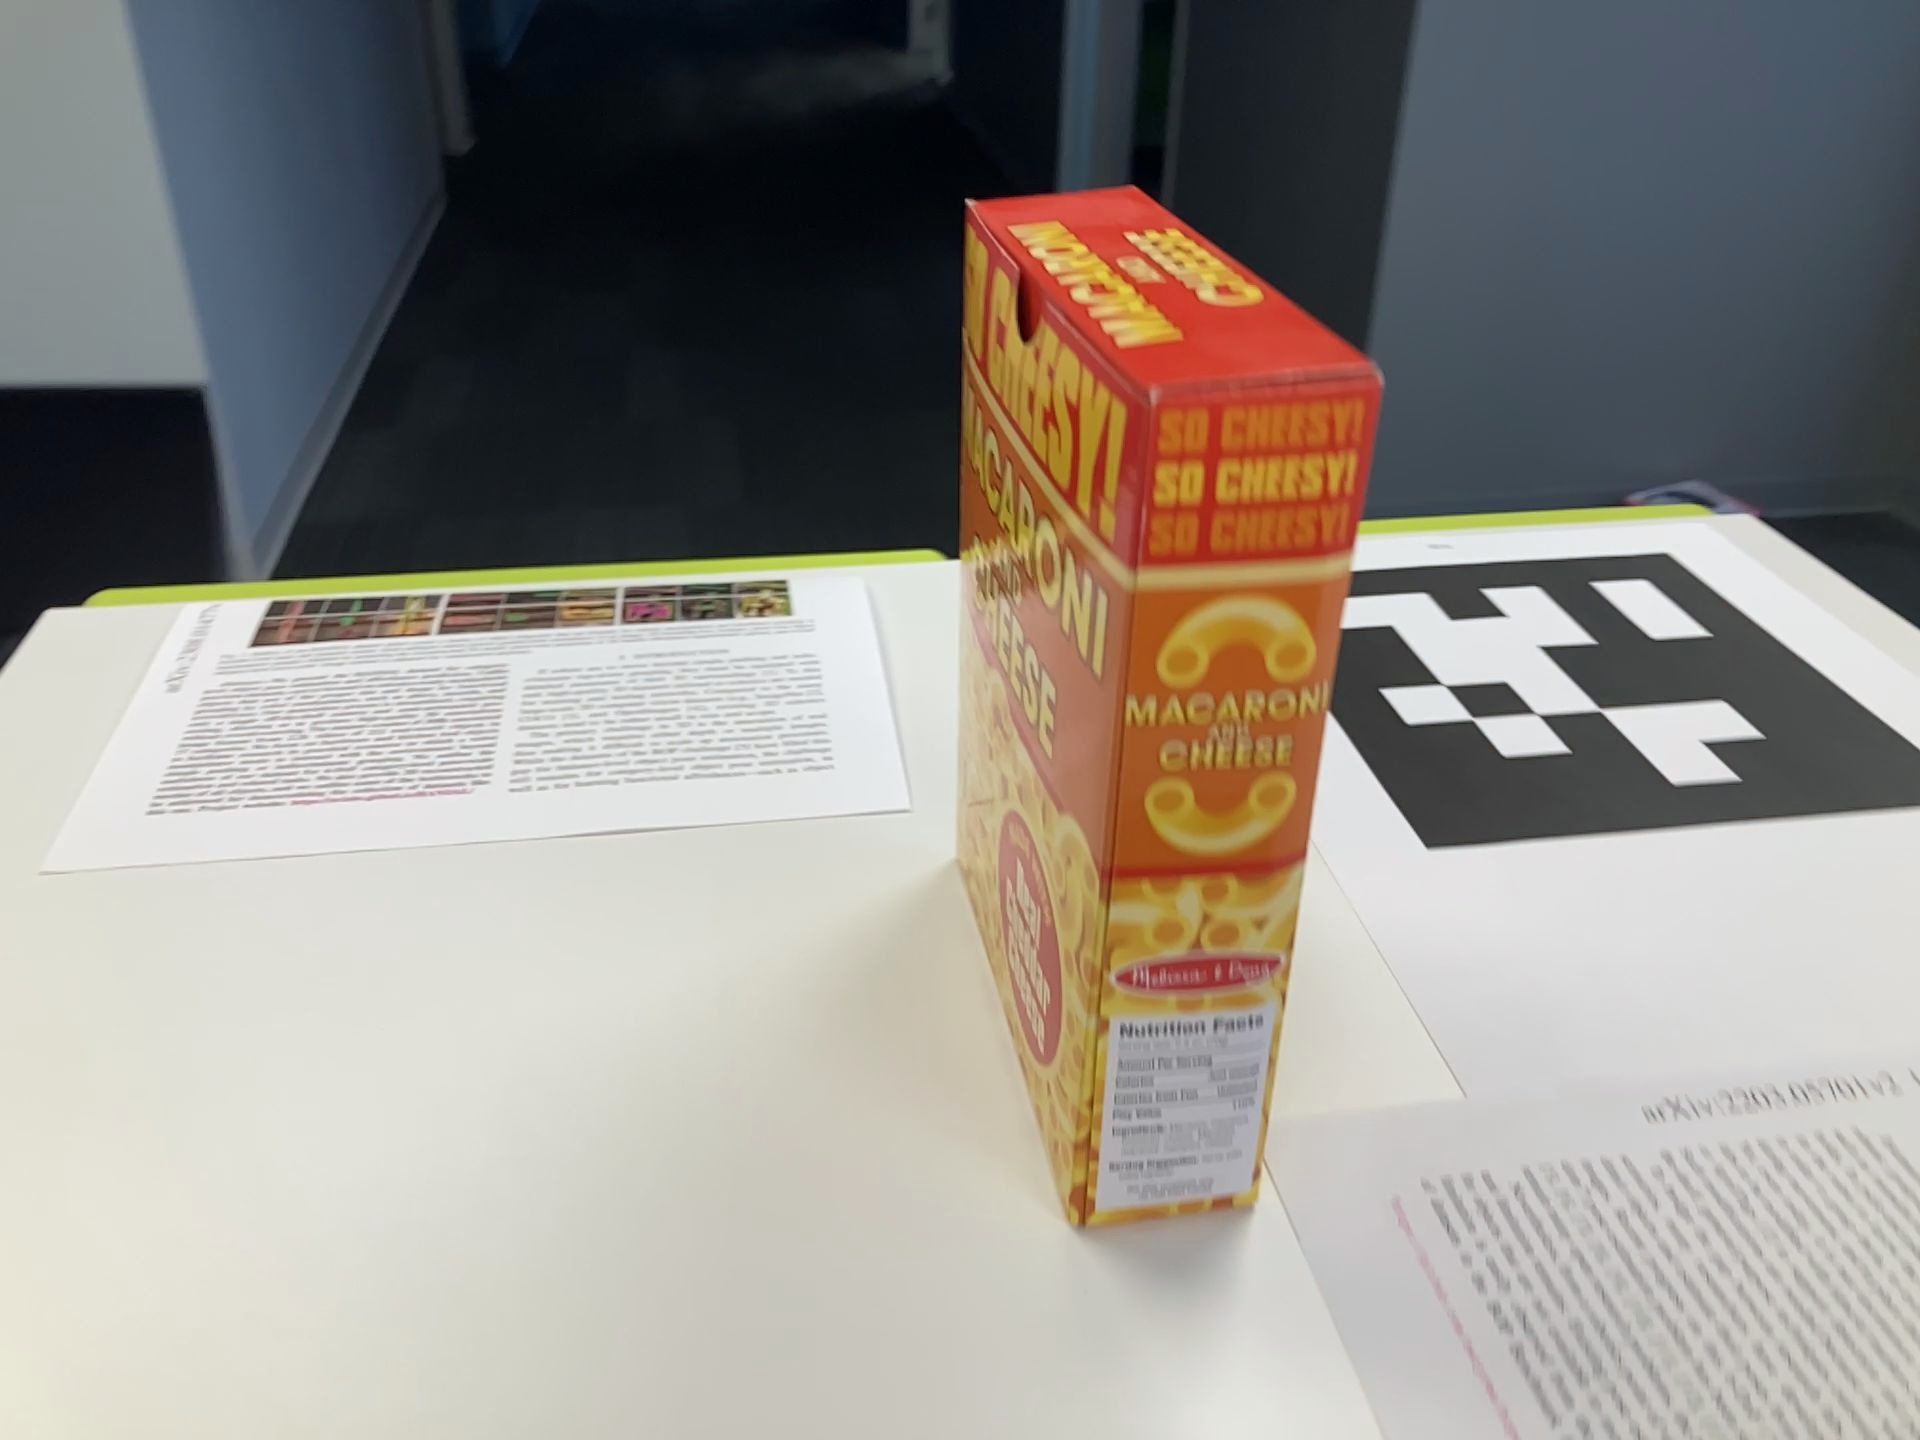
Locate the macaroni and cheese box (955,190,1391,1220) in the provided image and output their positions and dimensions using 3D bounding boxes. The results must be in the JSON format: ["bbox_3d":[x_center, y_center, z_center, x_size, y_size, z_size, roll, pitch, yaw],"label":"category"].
[{"bbox_3d":[0.030,-0.007,0.317,0.040,0.166,0.124,-5,31,-11],"label":"macaroni and cheese box"}]
